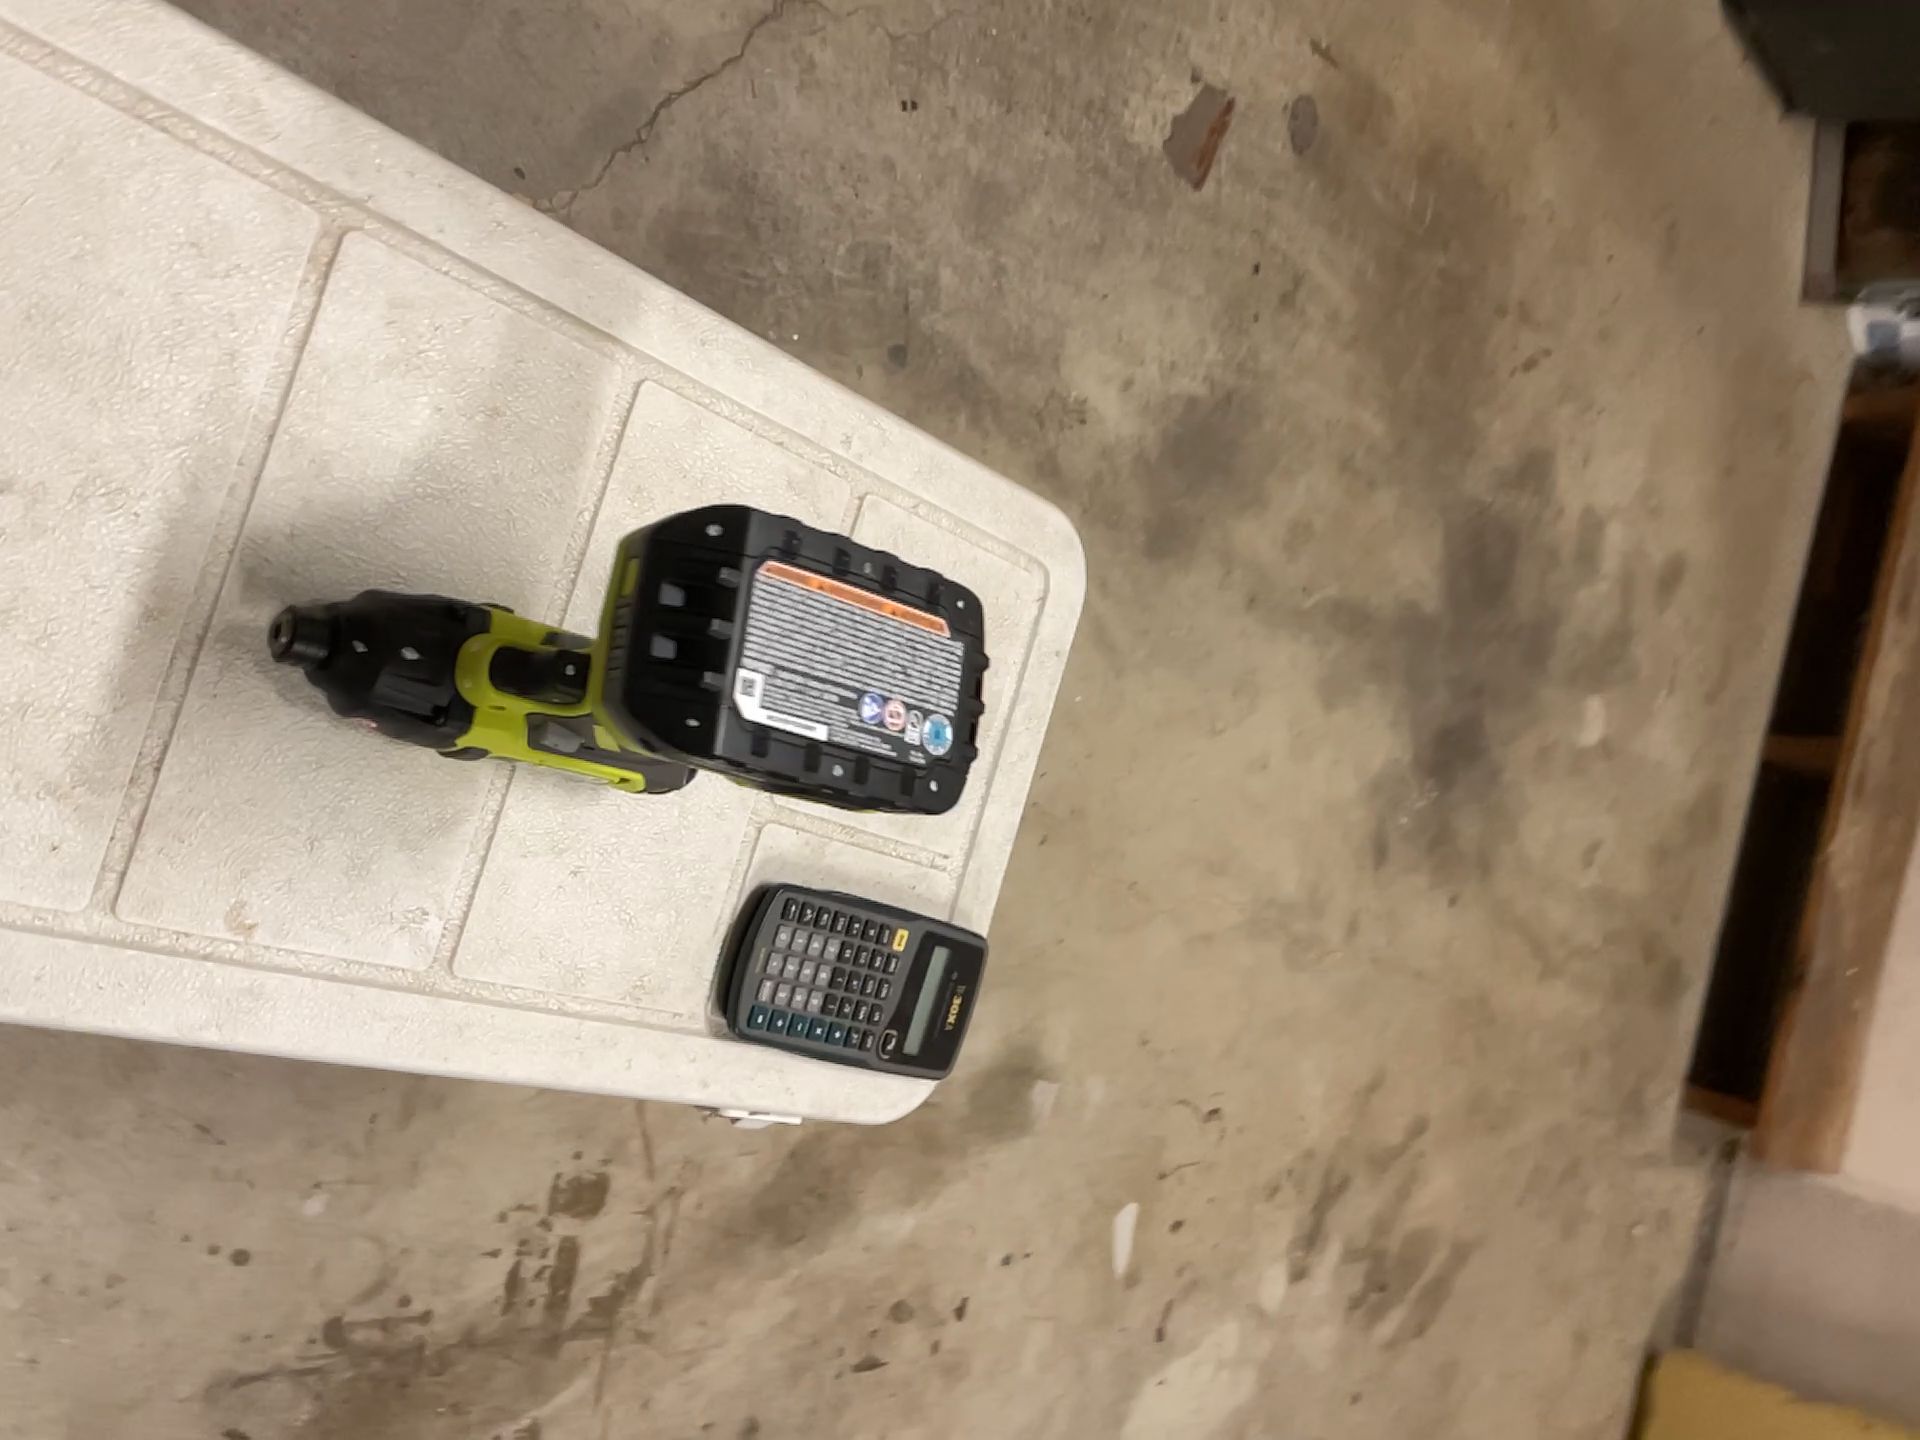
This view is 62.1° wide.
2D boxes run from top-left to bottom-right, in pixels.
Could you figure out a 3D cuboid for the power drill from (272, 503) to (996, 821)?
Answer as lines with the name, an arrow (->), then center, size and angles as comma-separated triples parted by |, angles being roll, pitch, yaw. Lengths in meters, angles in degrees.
power drill -> -0.115, -0.013, 0.548 | 0.171, 0.223, 0.080 | 18, 76, -44
